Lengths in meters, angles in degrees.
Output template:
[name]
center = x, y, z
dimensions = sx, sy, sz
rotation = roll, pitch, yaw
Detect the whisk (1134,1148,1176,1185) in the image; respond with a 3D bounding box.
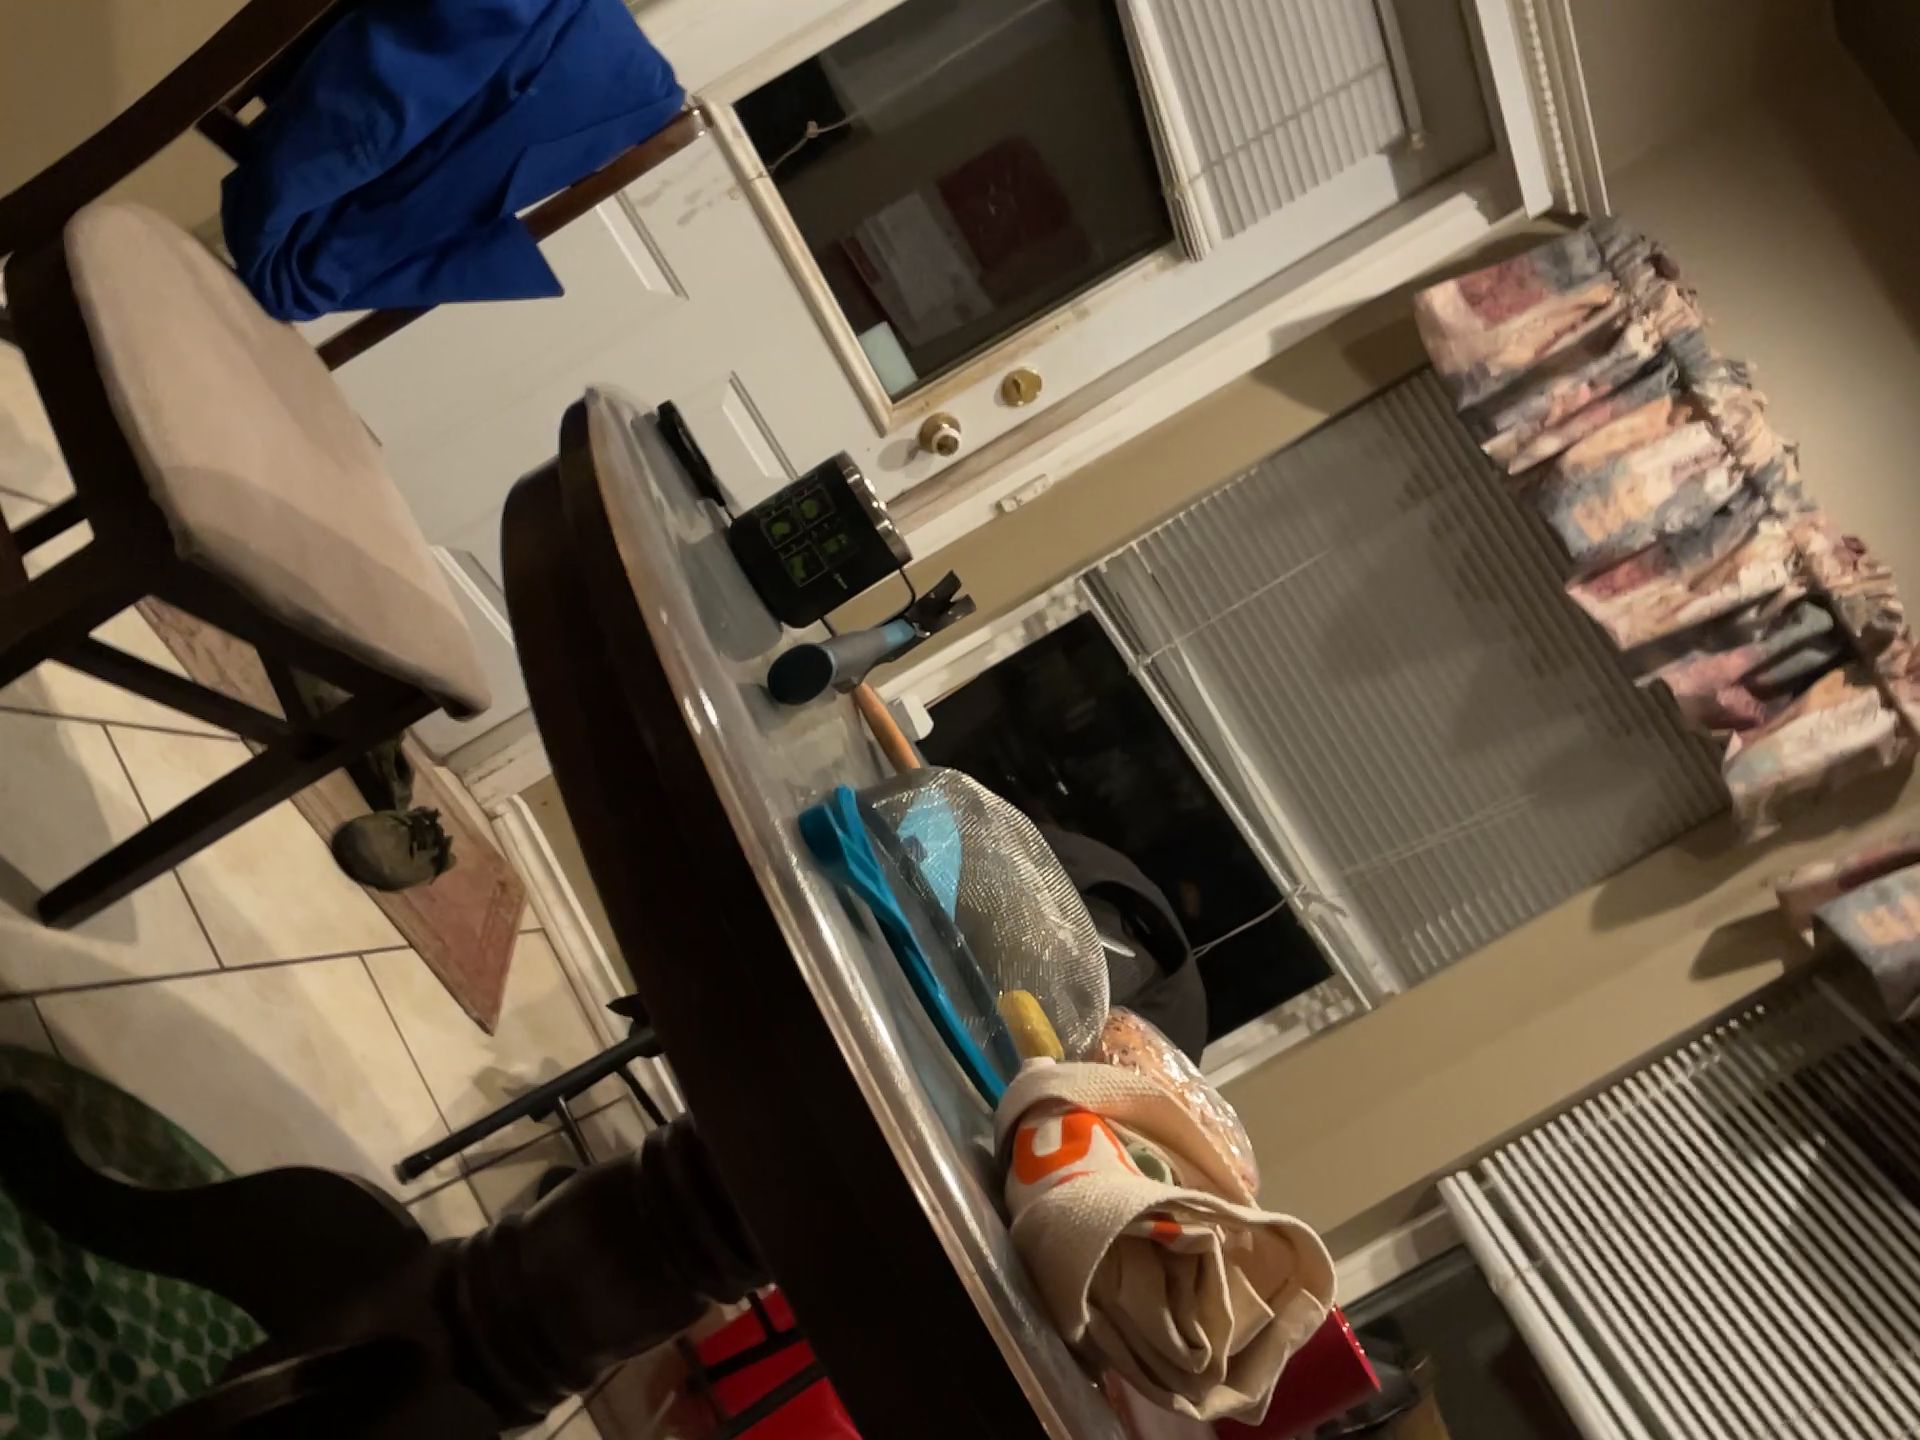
[whisk]
center = 0.109, 0.273, 0.856
dimensions = 0.246, 0.058, 0.059
rotation = 71, 22, -57

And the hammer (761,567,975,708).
[hammer]
center = -0.066, -0.045, 1.028
dimensions = 0.033, 0.128, 0.331
rotation = 57, 12, -2

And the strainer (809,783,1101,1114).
[strainer]
center = 0.006, 0.087, 0.816
dimensions = 0.211, 0.095, 0.340
rotation = 60, -1, 23

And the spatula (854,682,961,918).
[spatula]
center = -0.048, 0.039, 1.147
dimensions = 0.082, 0.044, 0.318
rotation = 57, -1, -27

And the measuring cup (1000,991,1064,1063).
[measuring cup]
center = 0.057, 0.221, 0.953
dimensions = 0.062, 0.029, 0.157
rotation = 57, 2, -37
